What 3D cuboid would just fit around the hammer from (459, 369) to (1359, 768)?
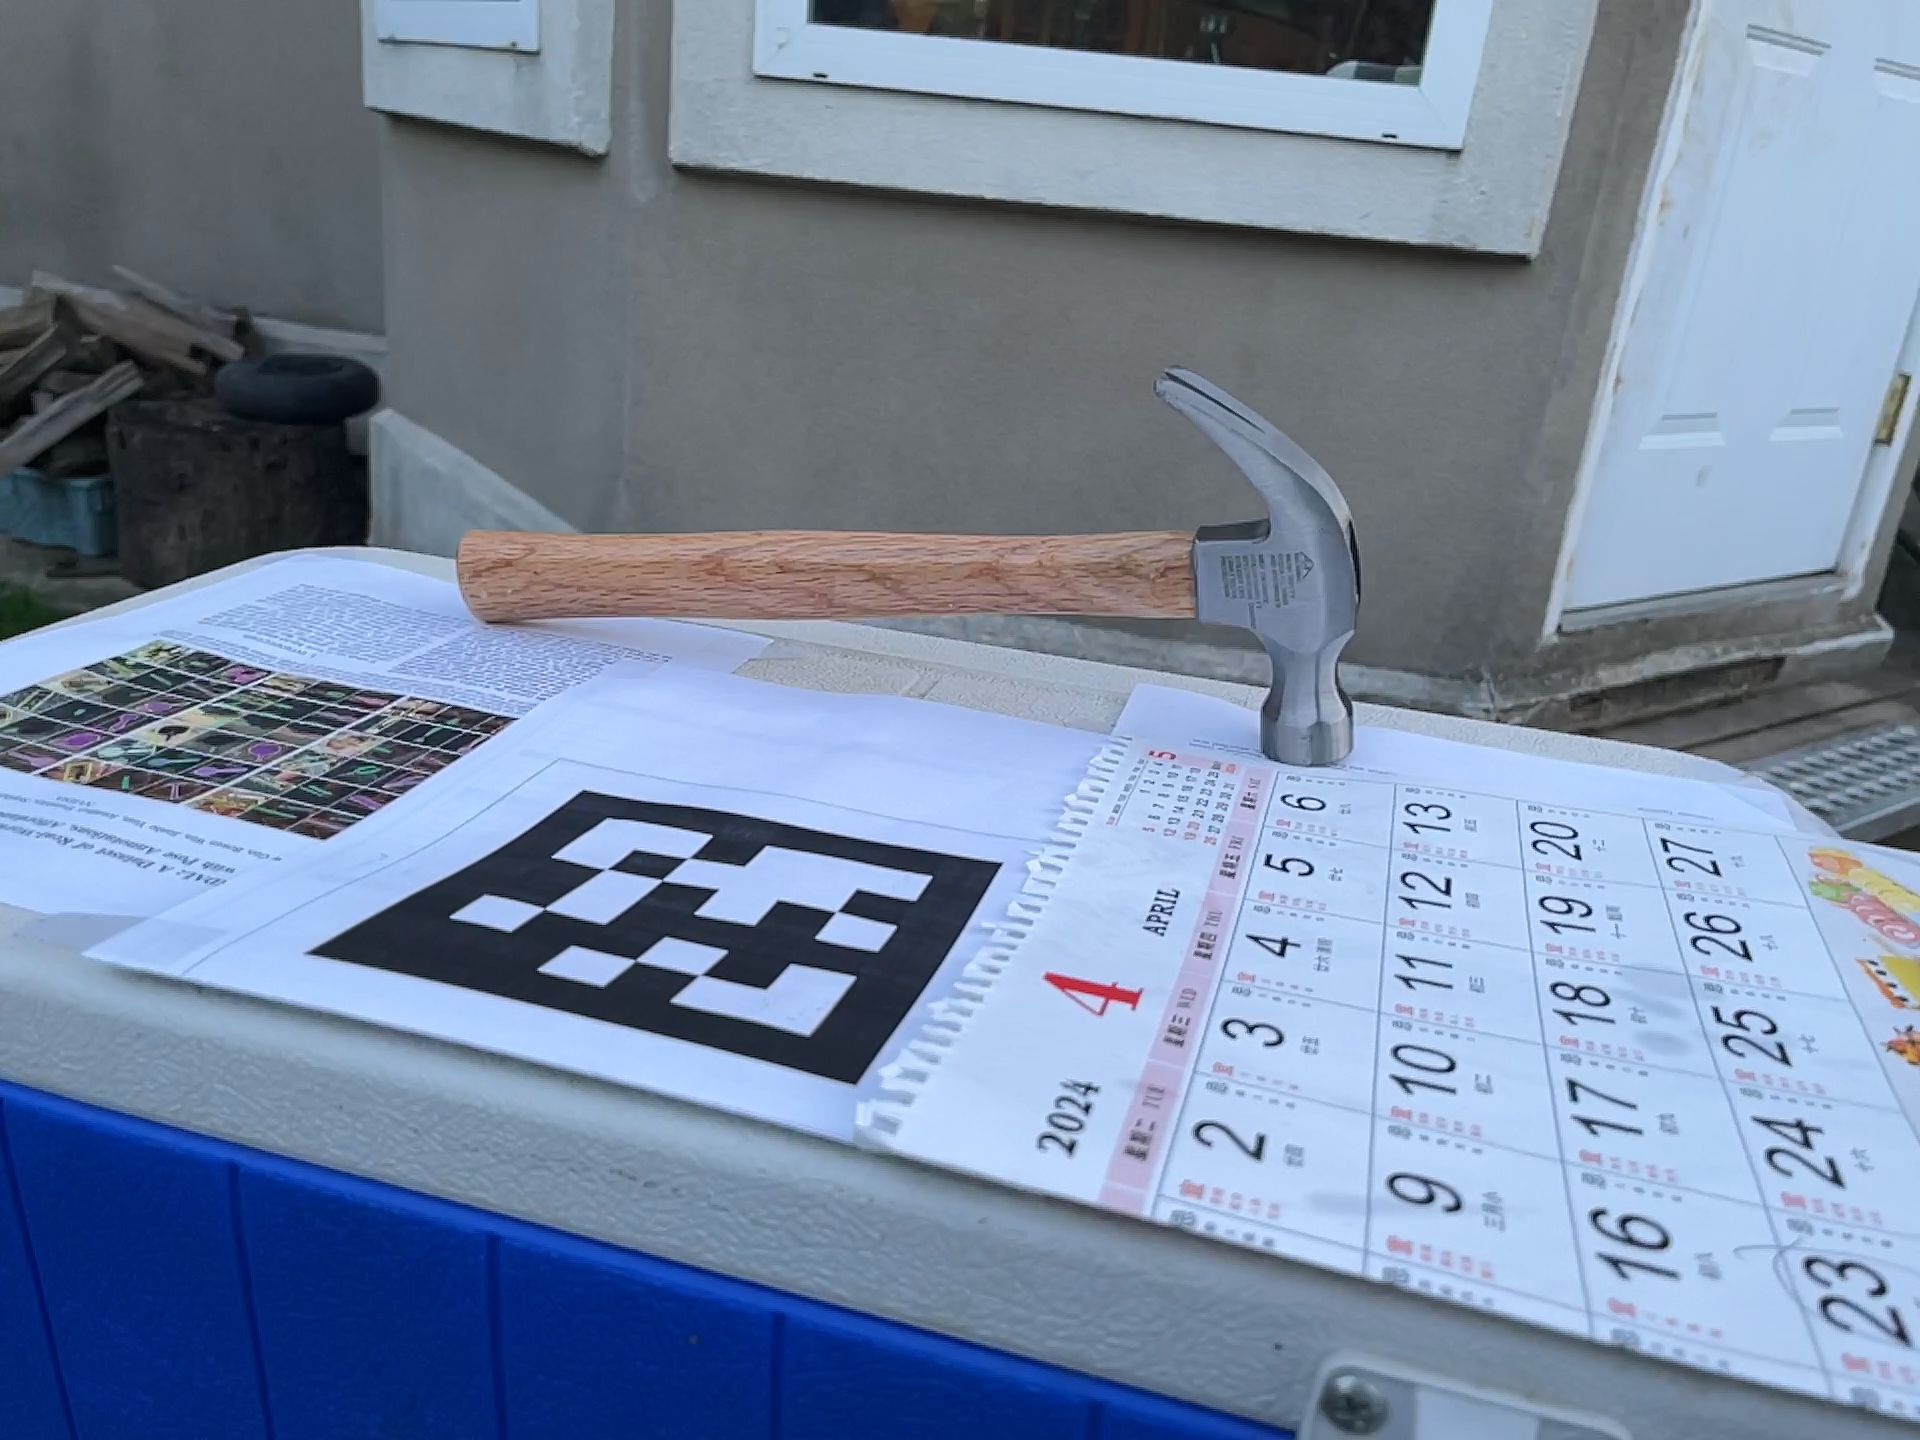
[{"bbox_3d":[-0.030,-0.052,0.548,0.331,0.130,0.031,1,24,17],"label":"hammer"}]
